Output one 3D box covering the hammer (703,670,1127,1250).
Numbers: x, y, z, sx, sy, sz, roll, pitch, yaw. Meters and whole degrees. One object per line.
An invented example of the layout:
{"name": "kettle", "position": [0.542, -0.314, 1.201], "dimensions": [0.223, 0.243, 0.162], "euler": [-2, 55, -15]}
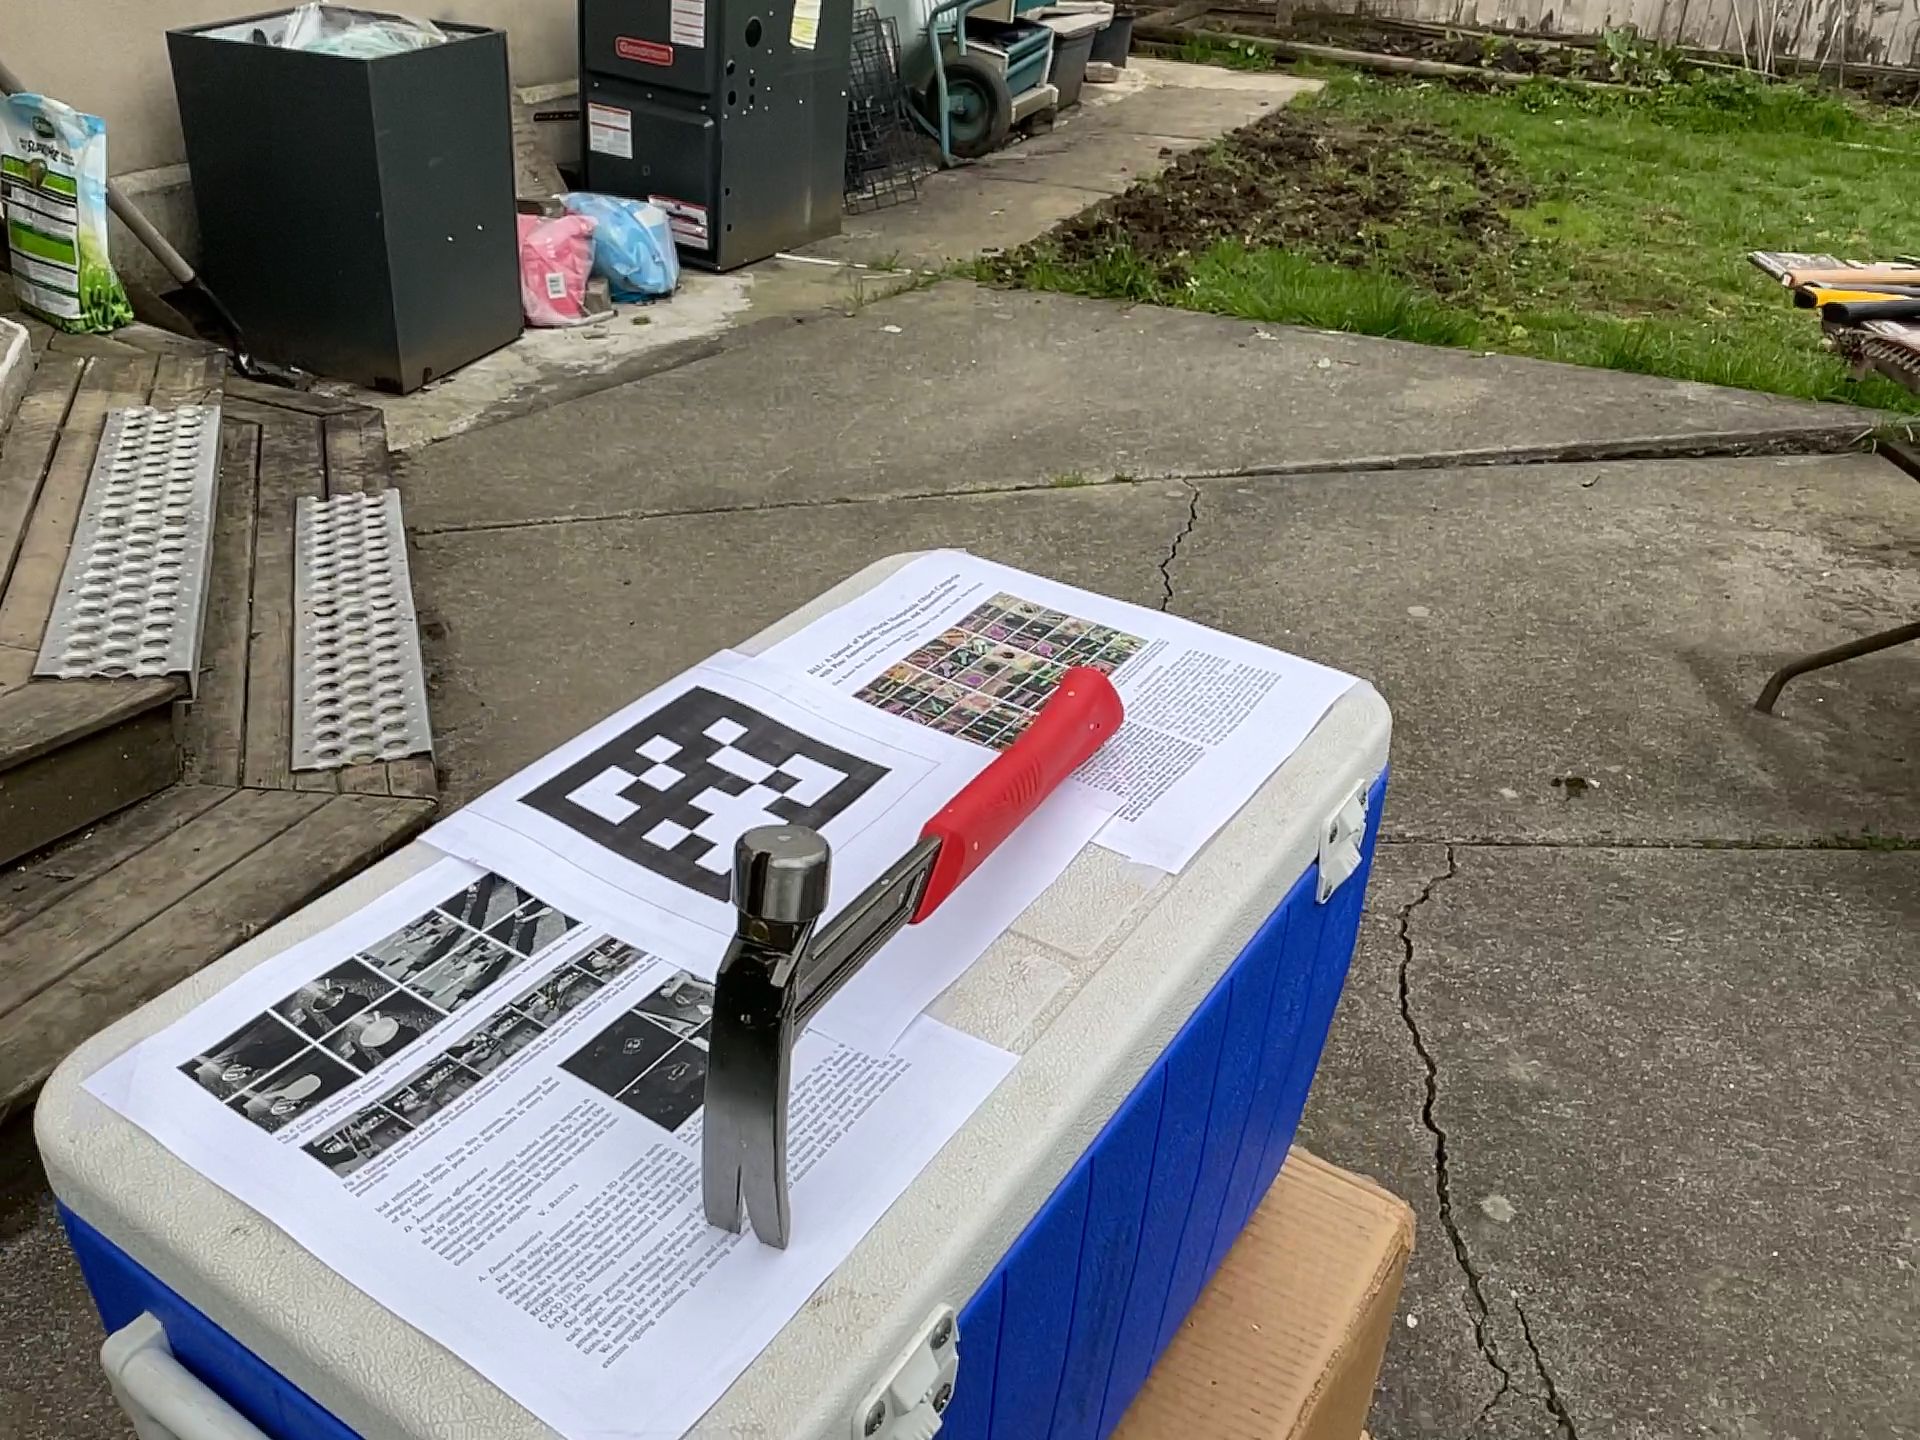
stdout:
{"name": "hammer", "position": [-0.001, 0.060, 0.670], "dimensions": [0.037, 0.149, 0.359], "euler": [14, 22, 19]}
